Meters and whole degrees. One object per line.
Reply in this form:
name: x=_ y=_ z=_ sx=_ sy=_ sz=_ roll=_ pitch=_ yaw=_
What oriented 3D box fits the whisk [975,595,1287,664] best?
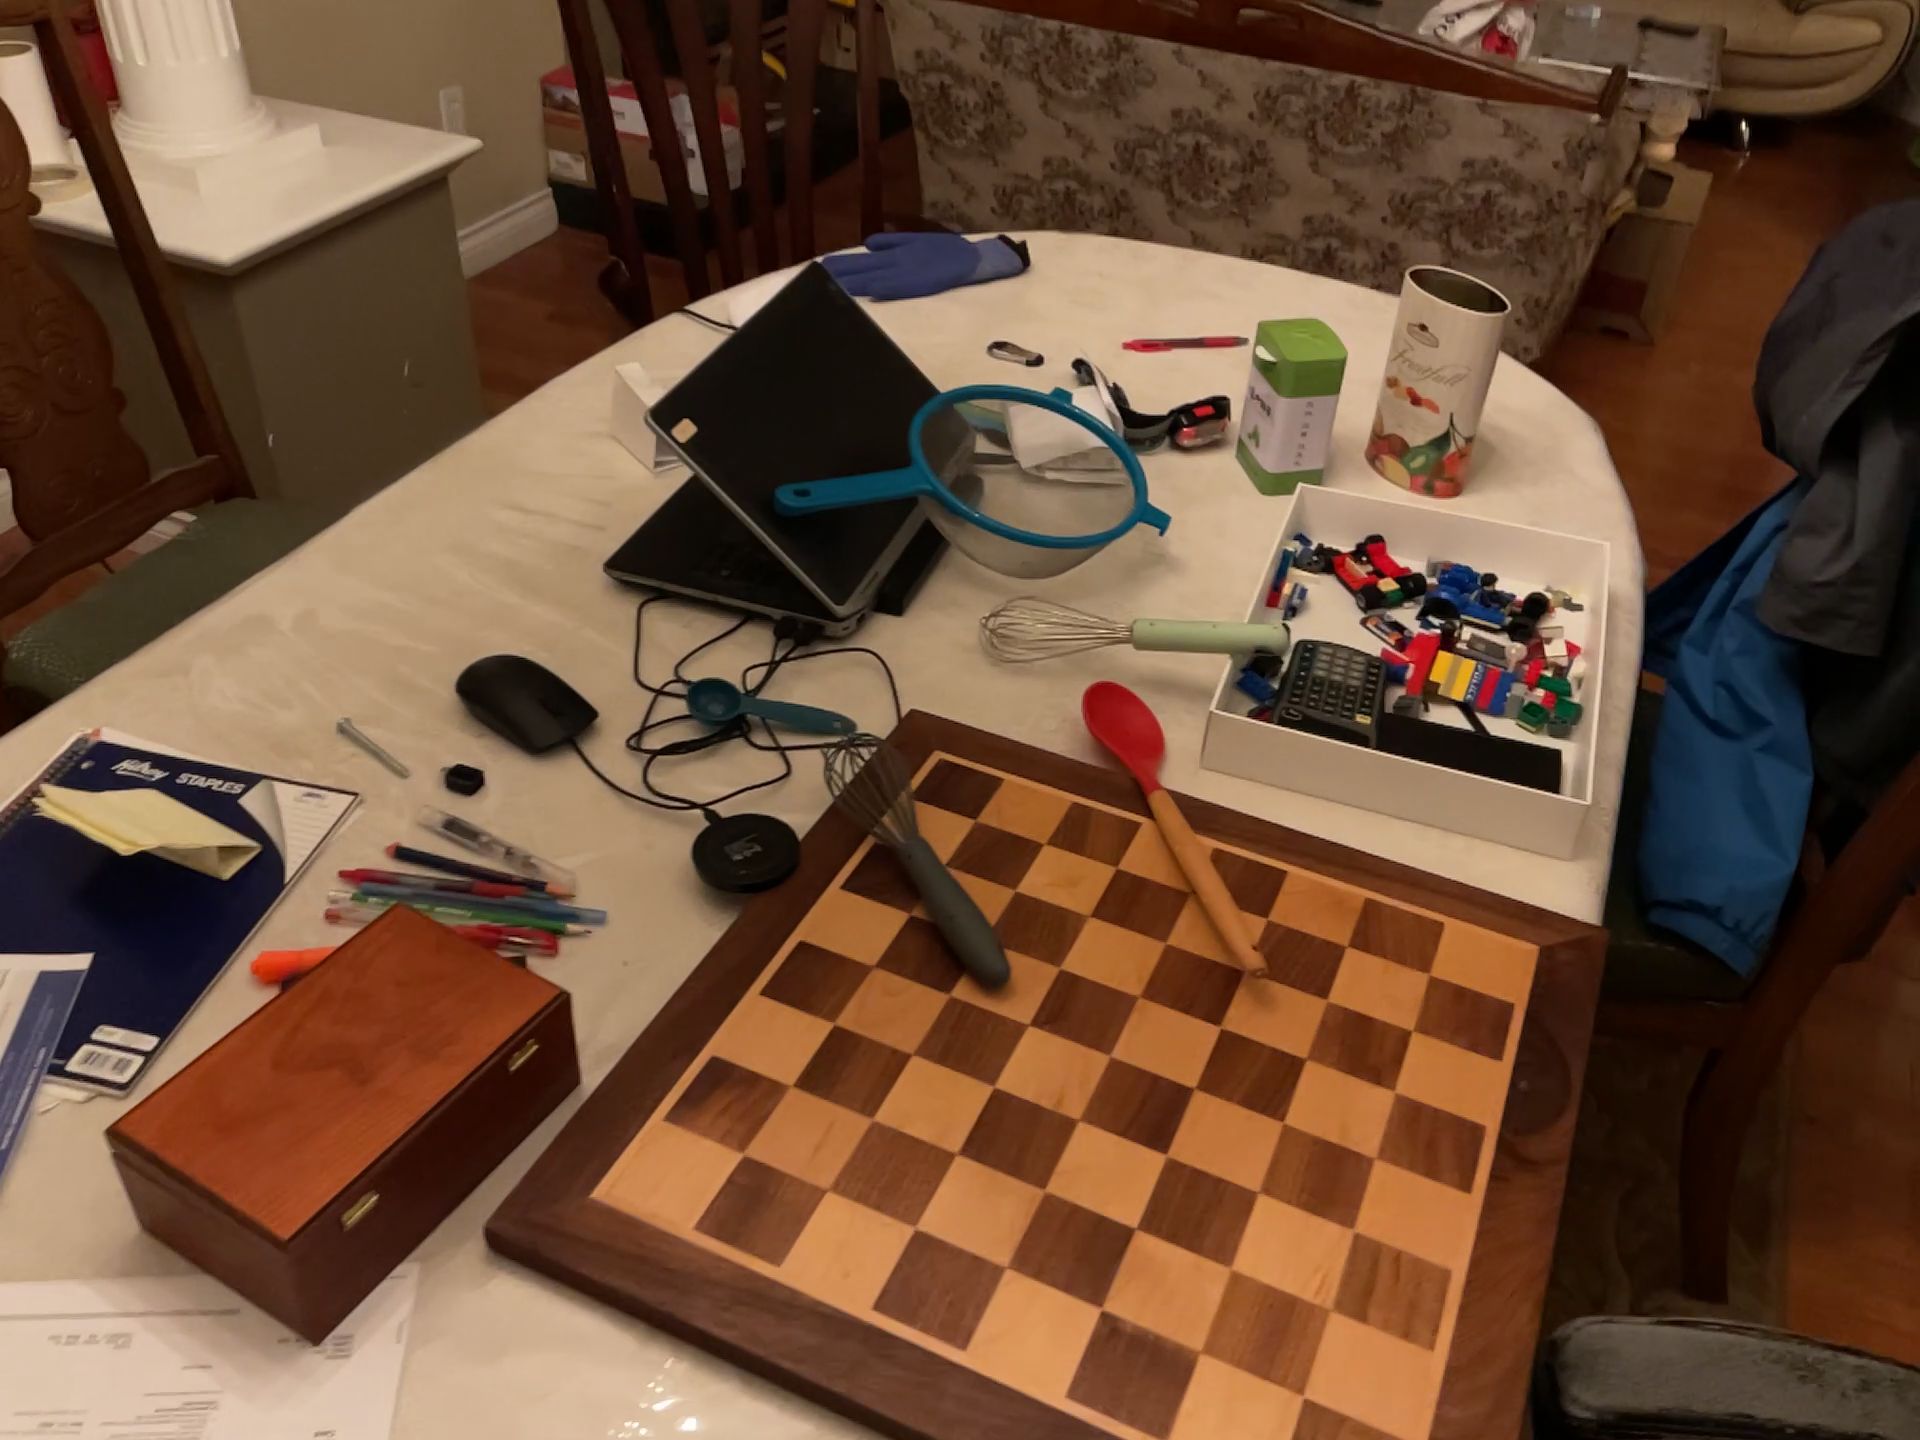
whisk: x=0.126 y=-0.066 z=1.210 sx=0.246 sy=0.057 sz=0.059 roll=4 pitch=66 yaw=23

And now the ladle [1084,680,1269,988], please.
ladle: x=0.144 y=0.068 z=1.060 sx=0.069 sy=0.031 sz=0.316 roll=14 pitch=28 yaw=-22

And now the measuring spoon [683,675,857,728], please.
measuring spoon: x=-0.140 y=-0.004 z=1.169 sx=0.128 sy=0.021 sz=0.042 roll=10 pitch=44 yaw=-11

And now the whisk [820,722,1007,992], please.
whisk: x=-0.032 y=0.085 z=1.017 sx=0.055 sy=0.055 sz=0.239 roll=-25 pitch=48 yaw=-13

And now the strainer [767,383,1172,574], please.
strainer: x=-0.008 y=-0.177 z=1.329 sx=0.340 sy=0.095 sz=0.211 roll=-13 pitch=53 yaw=-28
